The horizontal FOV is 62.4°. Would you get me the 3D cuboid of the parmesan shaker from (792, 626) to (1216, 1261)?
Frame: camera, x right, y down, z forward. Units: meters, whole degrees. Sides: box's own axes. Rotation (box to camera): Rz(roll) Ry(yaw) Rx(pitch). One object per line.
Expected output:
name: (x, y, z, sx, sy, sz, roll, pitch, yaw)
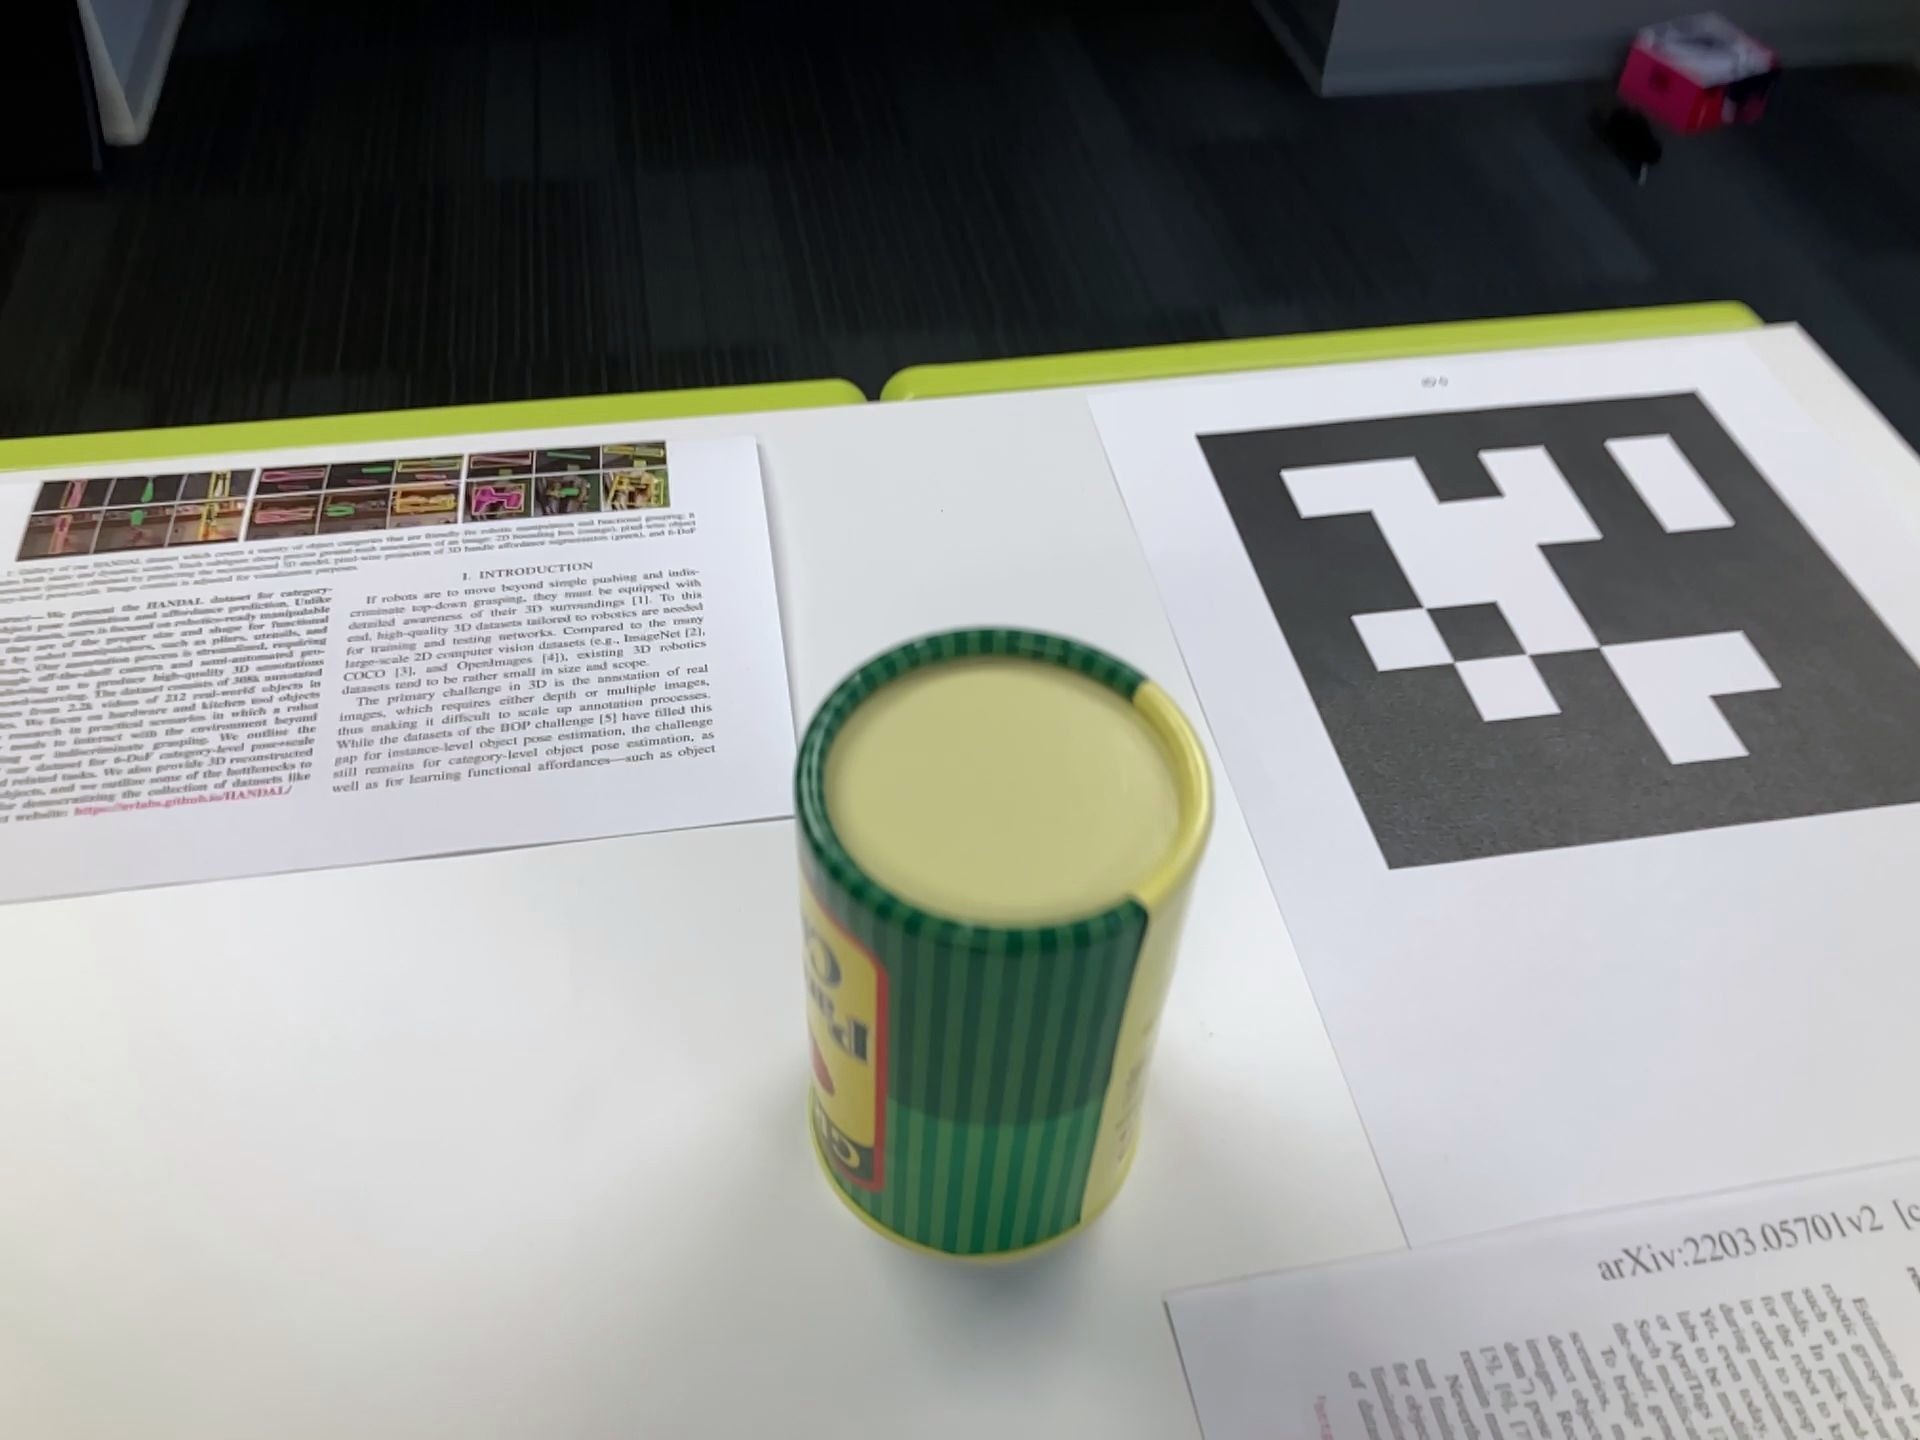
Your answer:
parmesan shaker: (0.005, 0.040, 0.281, 0.071, 0.103, 0.071, 1, 47, -1)
